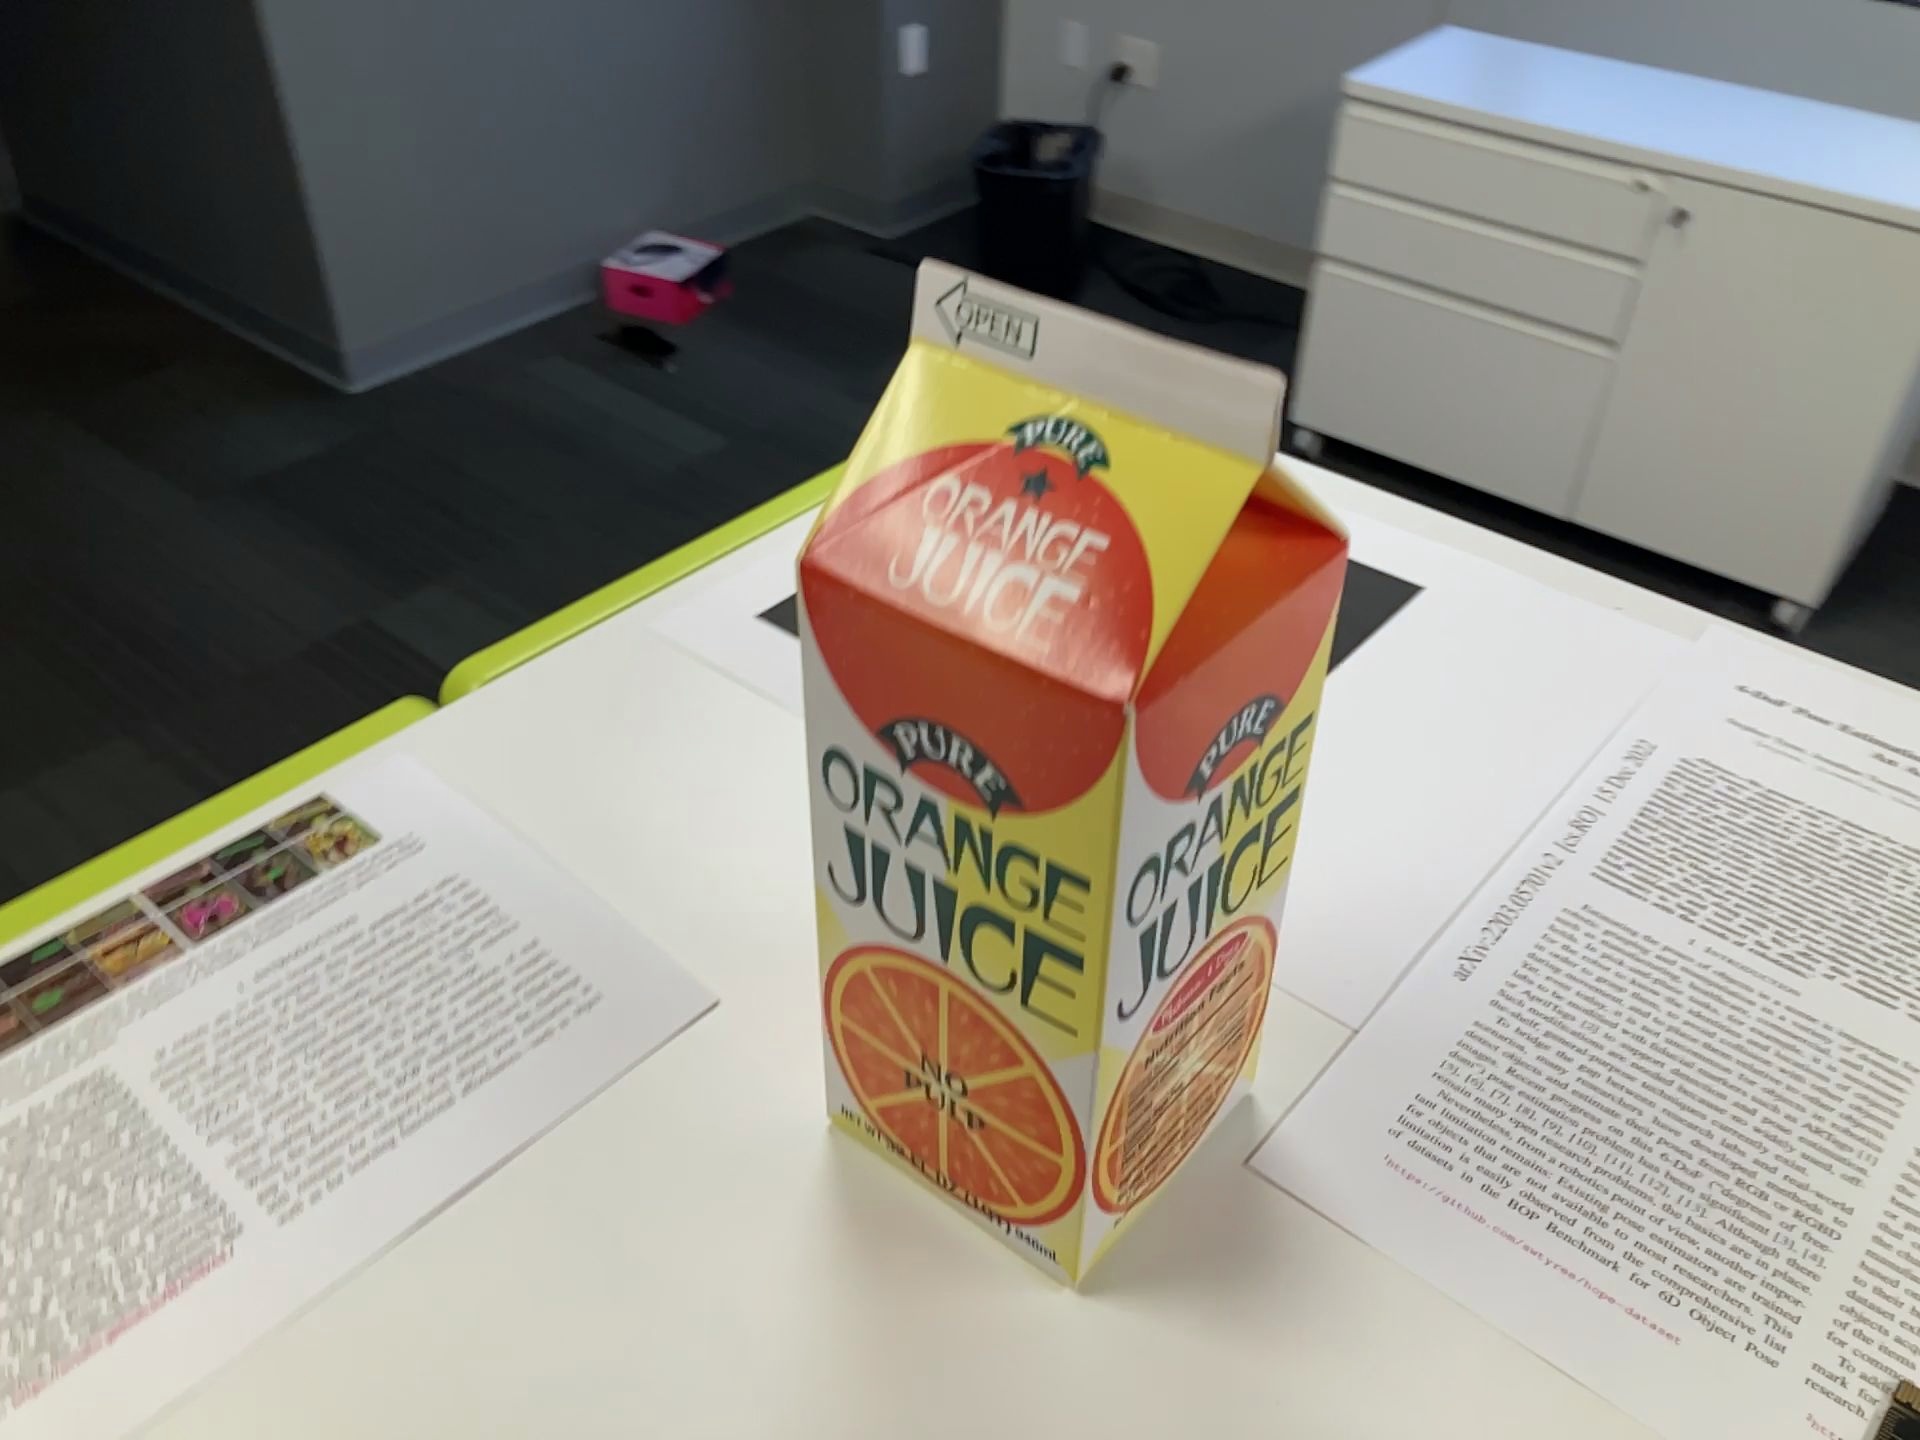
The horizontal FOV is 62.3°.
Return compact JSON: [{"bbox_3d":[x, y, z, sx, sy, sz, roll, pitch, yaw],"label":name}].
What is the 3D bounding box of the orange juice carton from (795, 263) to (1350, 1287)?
[{"bbox_3d":[0.020,0.012,0.311,0.072,0.192,0.073,26,43,30],"label":"orange juice carton"}]
